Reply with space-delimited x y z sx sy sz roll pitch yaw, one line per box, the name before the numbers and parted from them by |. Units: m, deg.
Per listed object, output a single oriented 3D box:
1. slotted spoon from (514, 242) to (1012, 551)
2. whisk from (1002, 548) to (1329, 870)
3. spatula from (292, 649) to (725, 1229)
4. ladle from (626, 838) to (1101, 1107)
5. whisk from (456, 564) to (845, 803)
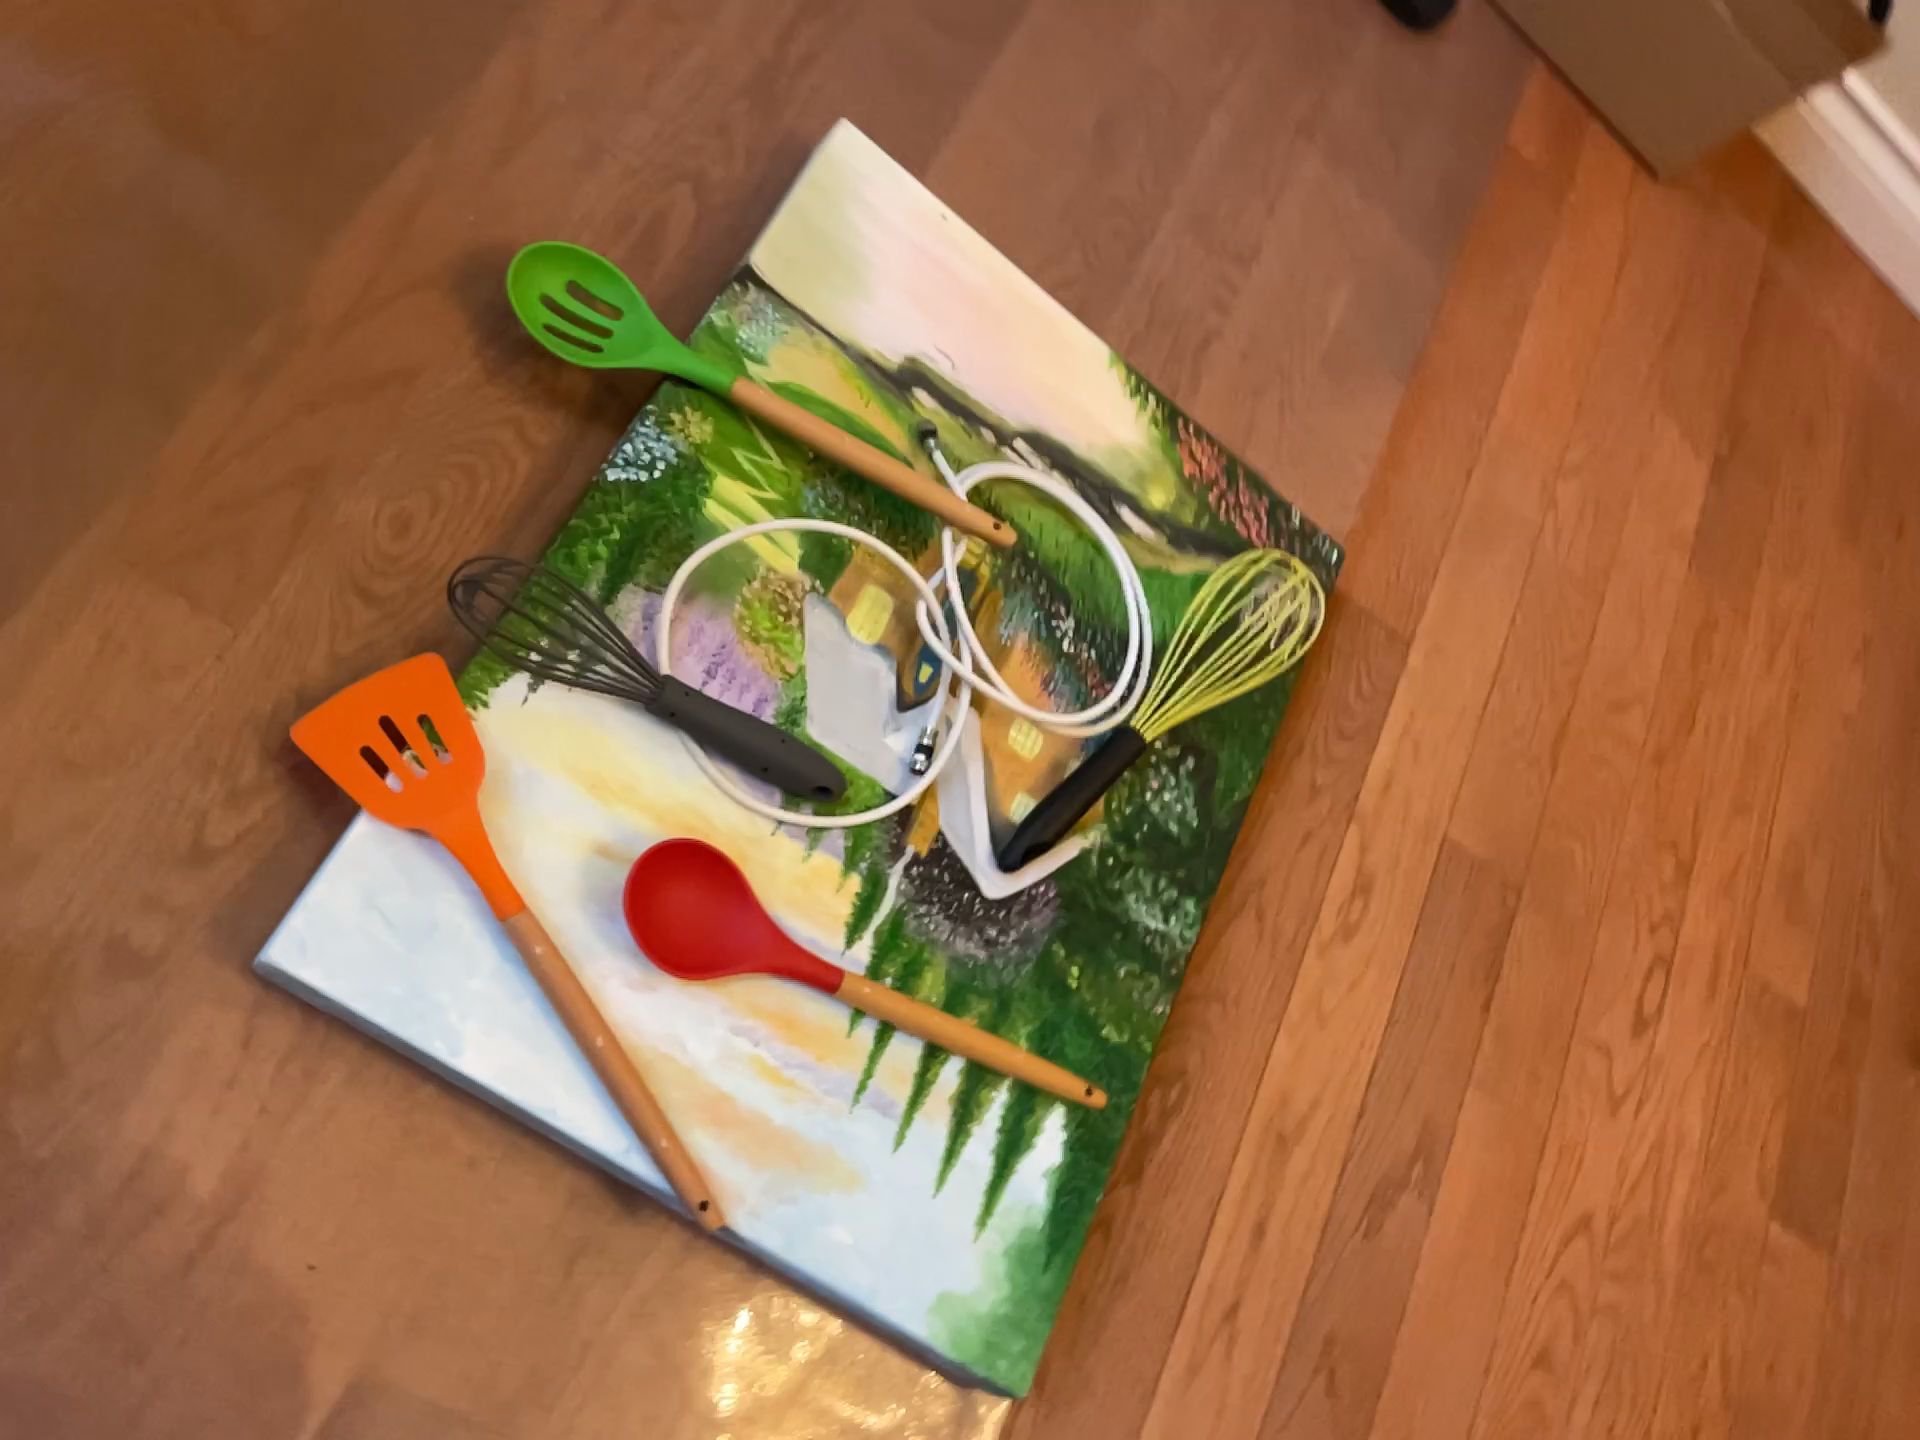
slotted spoon | -0.109 -0.176 0.909 0.313 0.031 0.070 28 63 -9
whisk | 0.127 -0.009 1.001 0.080 0.067 0.312 49 63 -4
spatula | -0.208 0.115 0.786 0.081 0.041 0.322 -33 97 -22
ladle | -0.045 0.150 0.863 0.315 0.031 0.069 30 64 -24
whisk | -0.156 -0.015 0.832 0.238 0.055 0.055 31 73 -27
